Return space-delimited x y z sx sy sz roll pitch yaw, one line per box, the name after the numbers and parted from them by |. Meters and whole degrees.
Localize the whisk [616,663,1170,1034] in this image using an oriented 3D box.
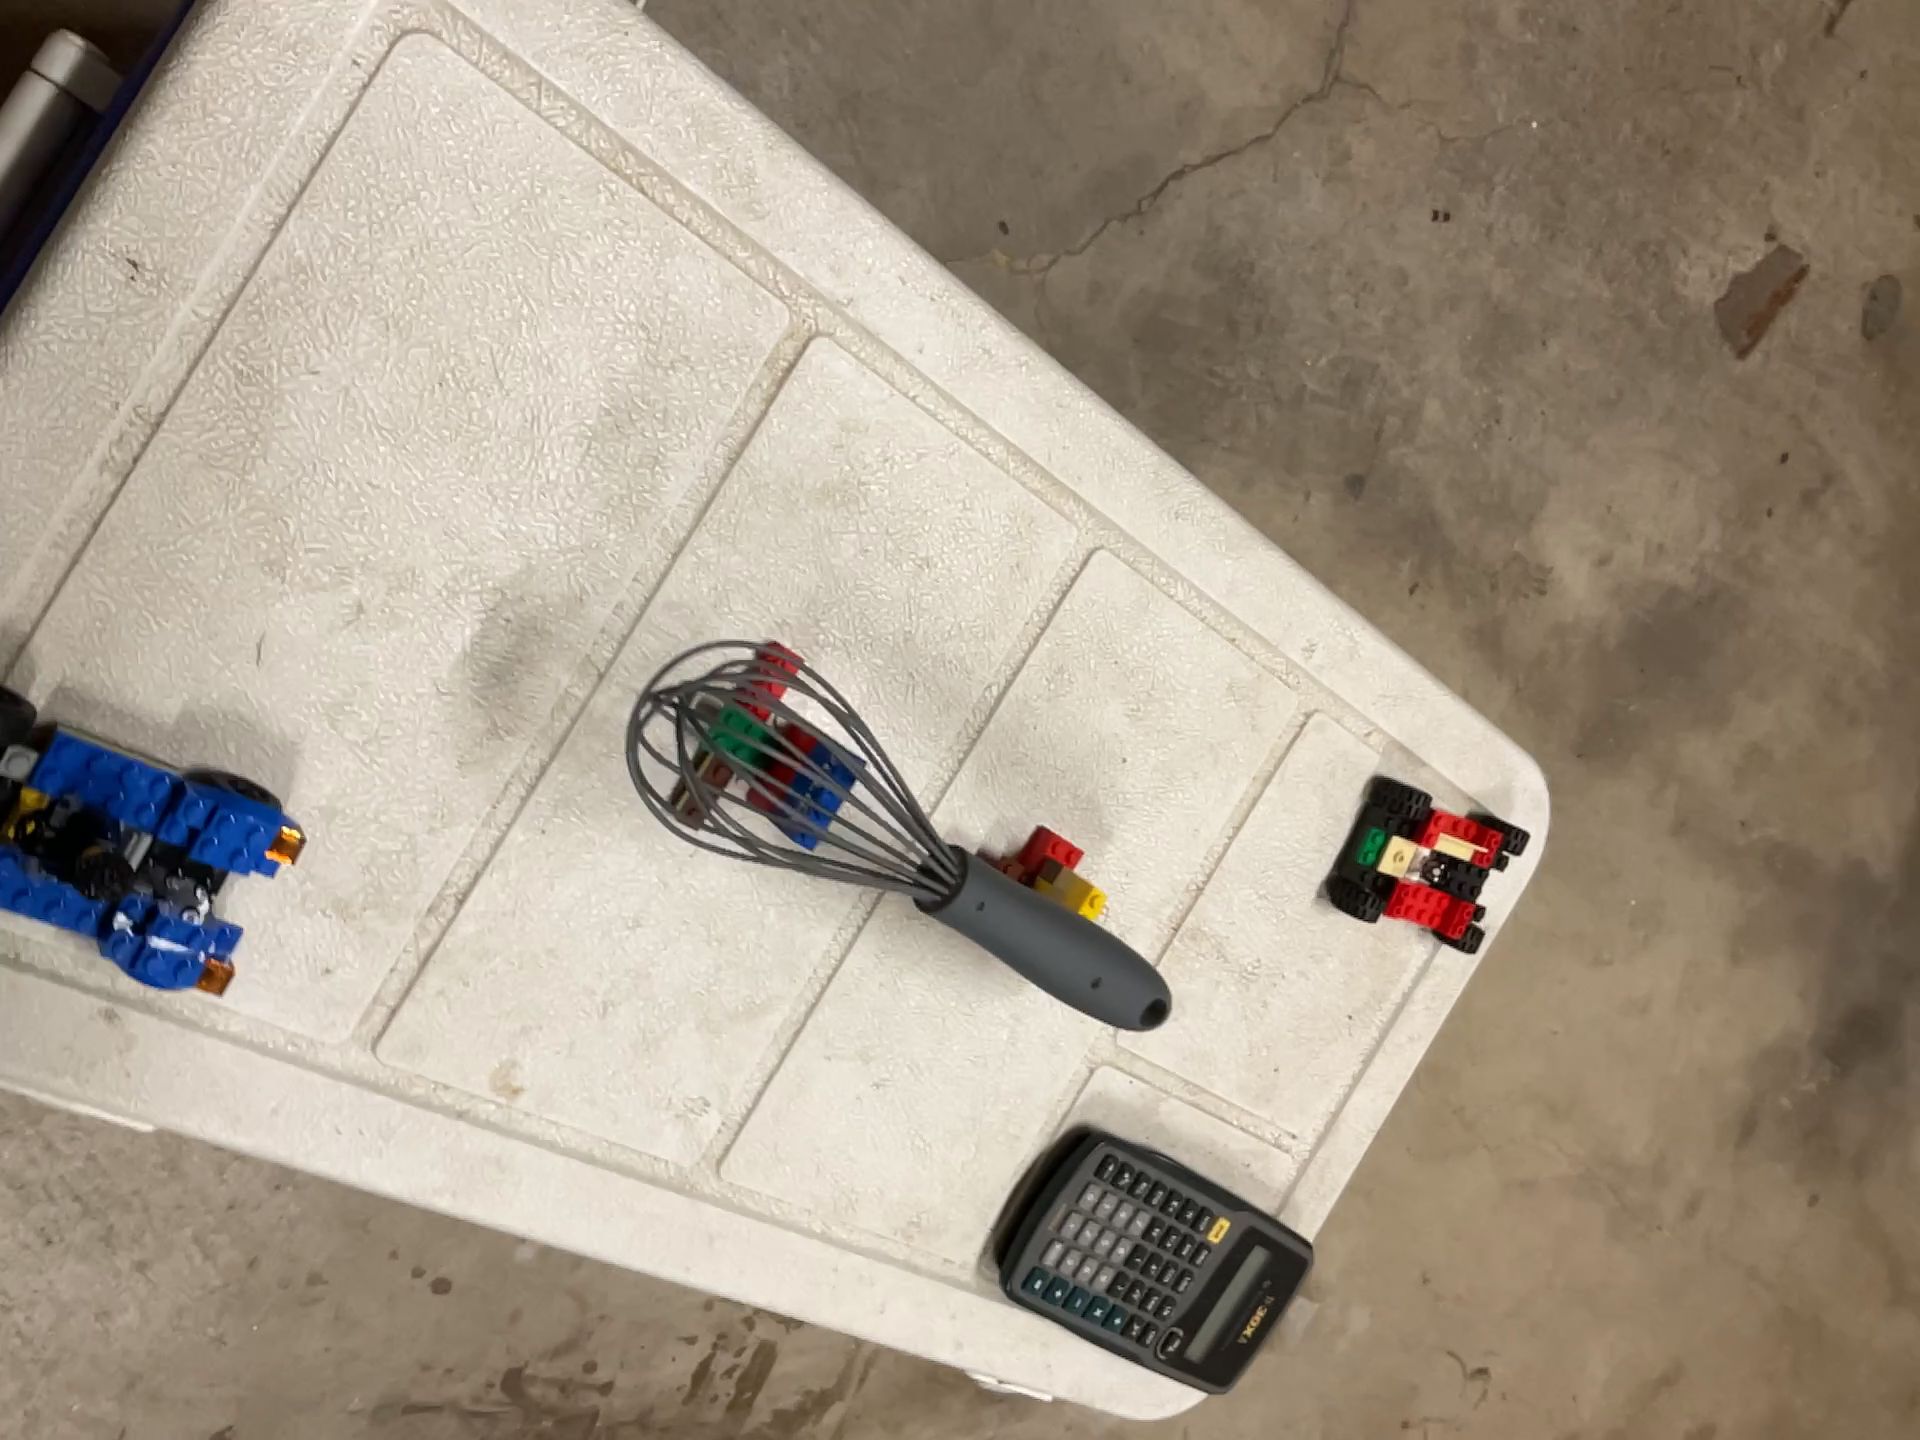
-0.007 0.049 0.483 0.239 0.055 0.055 36 89 -39 | whisk
